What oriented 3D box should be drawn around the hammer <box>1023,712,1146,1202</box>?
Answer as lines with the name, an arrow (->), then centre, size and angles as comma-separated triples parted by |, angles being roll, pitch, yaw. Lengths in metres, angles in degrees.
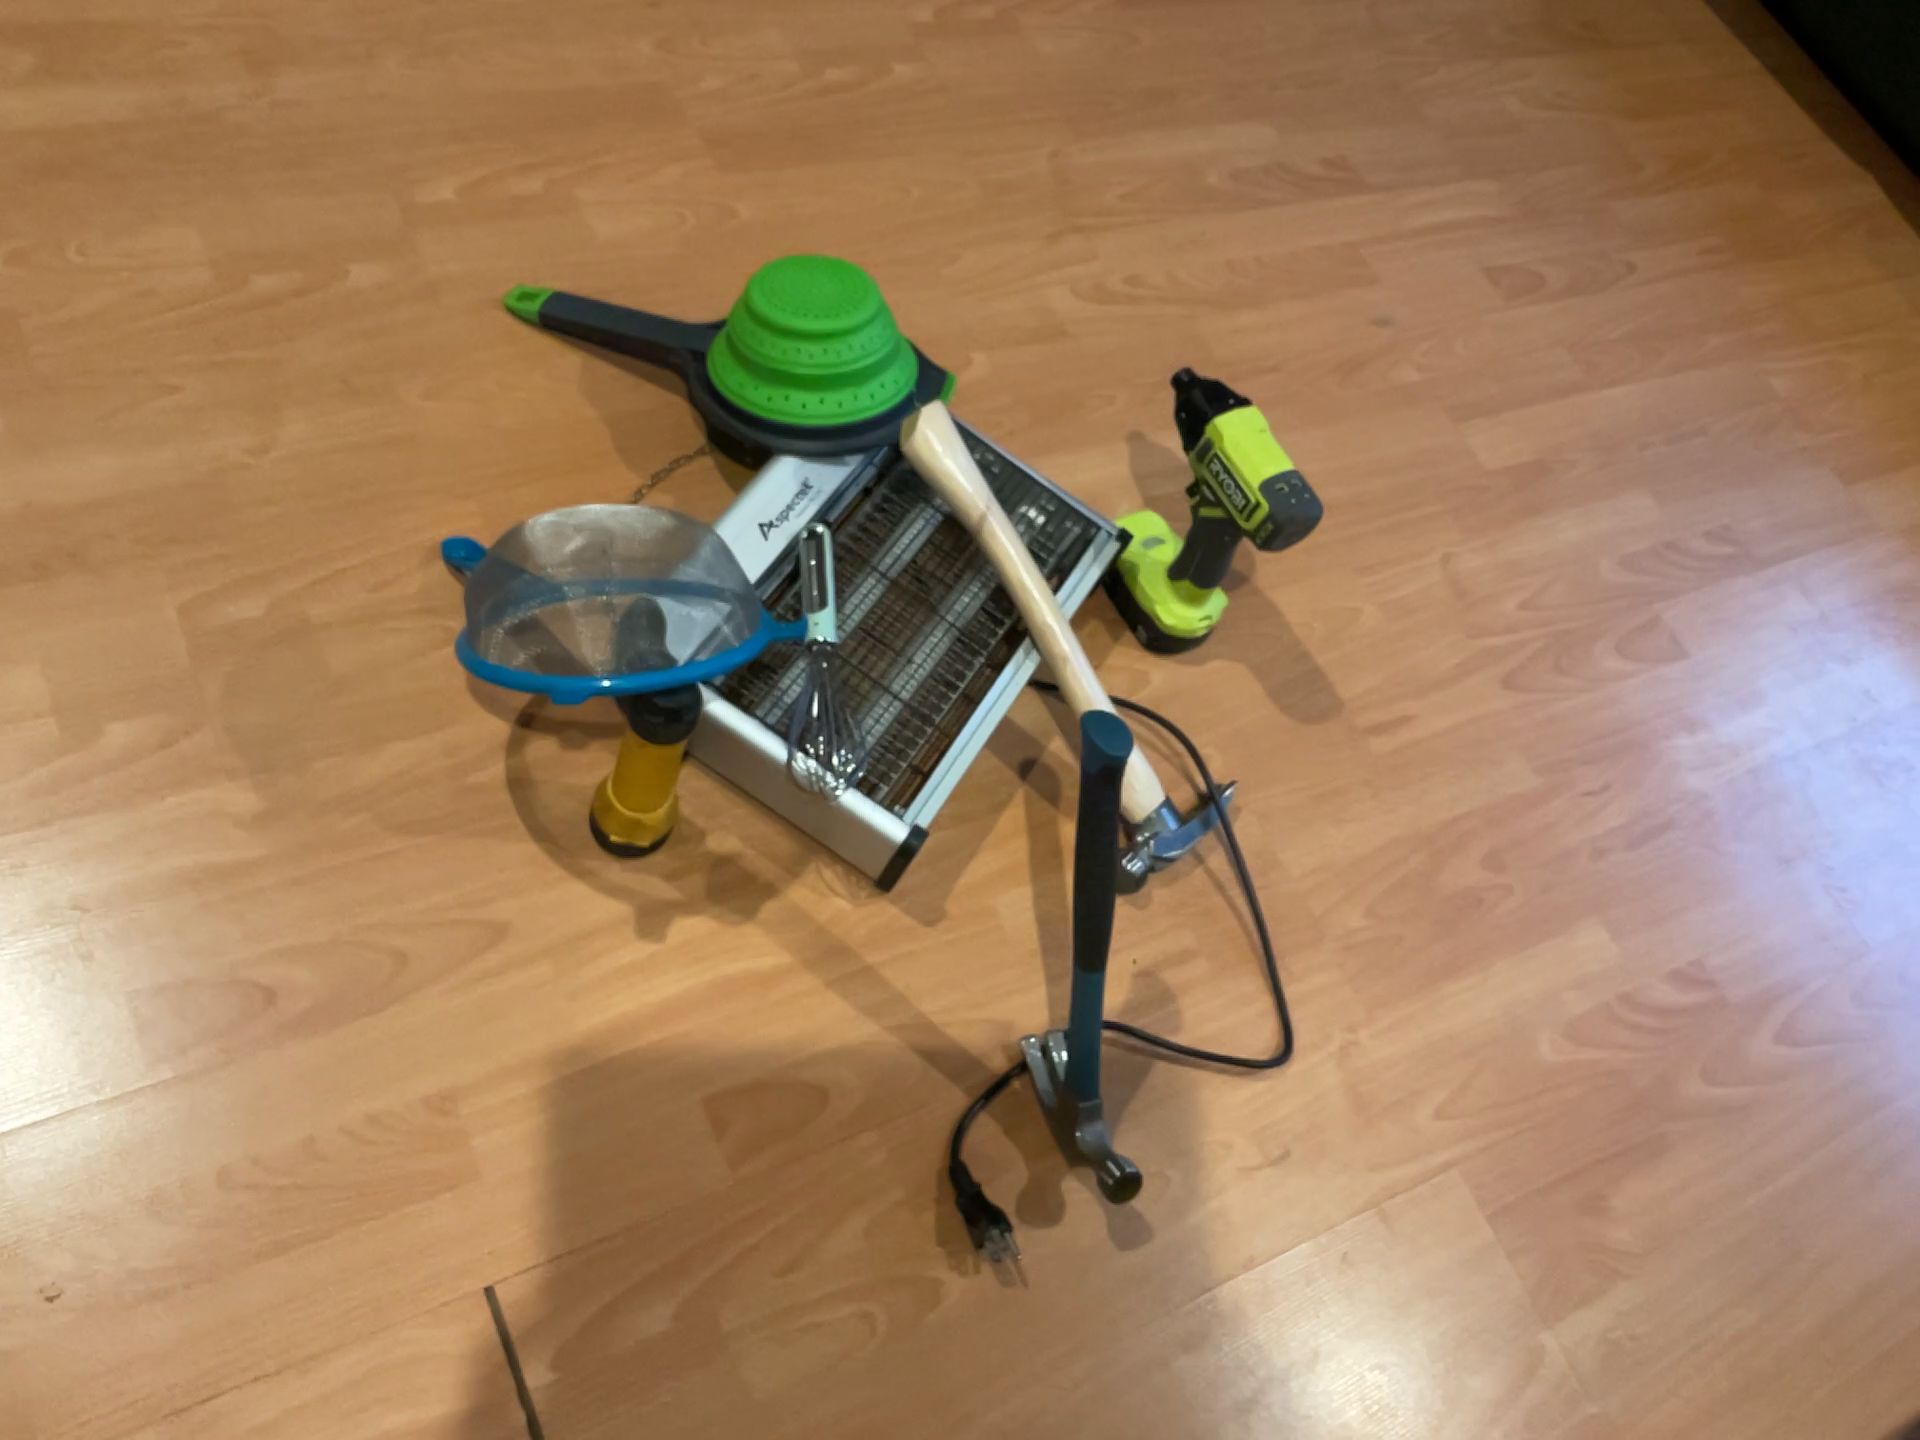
hammer -> 0.091, 0.155, 1.084 | 0.033, 0.330, 0.128 | -9, 24, -24

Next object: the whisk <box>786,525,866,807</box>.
whisk -> -0.102, -0.046, 1.181 | 0.058, 0.059, 0.246 | -11, 57, 8

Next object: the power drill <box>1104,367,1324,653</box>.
power drill -> 0.198, -0.173, 1.353 | 0.080, 0.223, 0.171 | -20, 69, -29

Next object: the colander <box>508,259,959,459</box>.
colander -> -0.197, -0.335, 1.334 | 0.397, 0.094, 0.205 | 16, 48, 10

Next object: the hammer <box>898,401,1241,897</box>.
hammer -> 0.080, -0.069, 1.269 | 0.146, 0.038, 0.410 | -37, 101, -32

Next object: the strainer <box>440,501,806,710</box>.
strainer -> -0.277, -0.114, 1.120 | 0.211, 0.095, 0.340 | -20, 33, -39
